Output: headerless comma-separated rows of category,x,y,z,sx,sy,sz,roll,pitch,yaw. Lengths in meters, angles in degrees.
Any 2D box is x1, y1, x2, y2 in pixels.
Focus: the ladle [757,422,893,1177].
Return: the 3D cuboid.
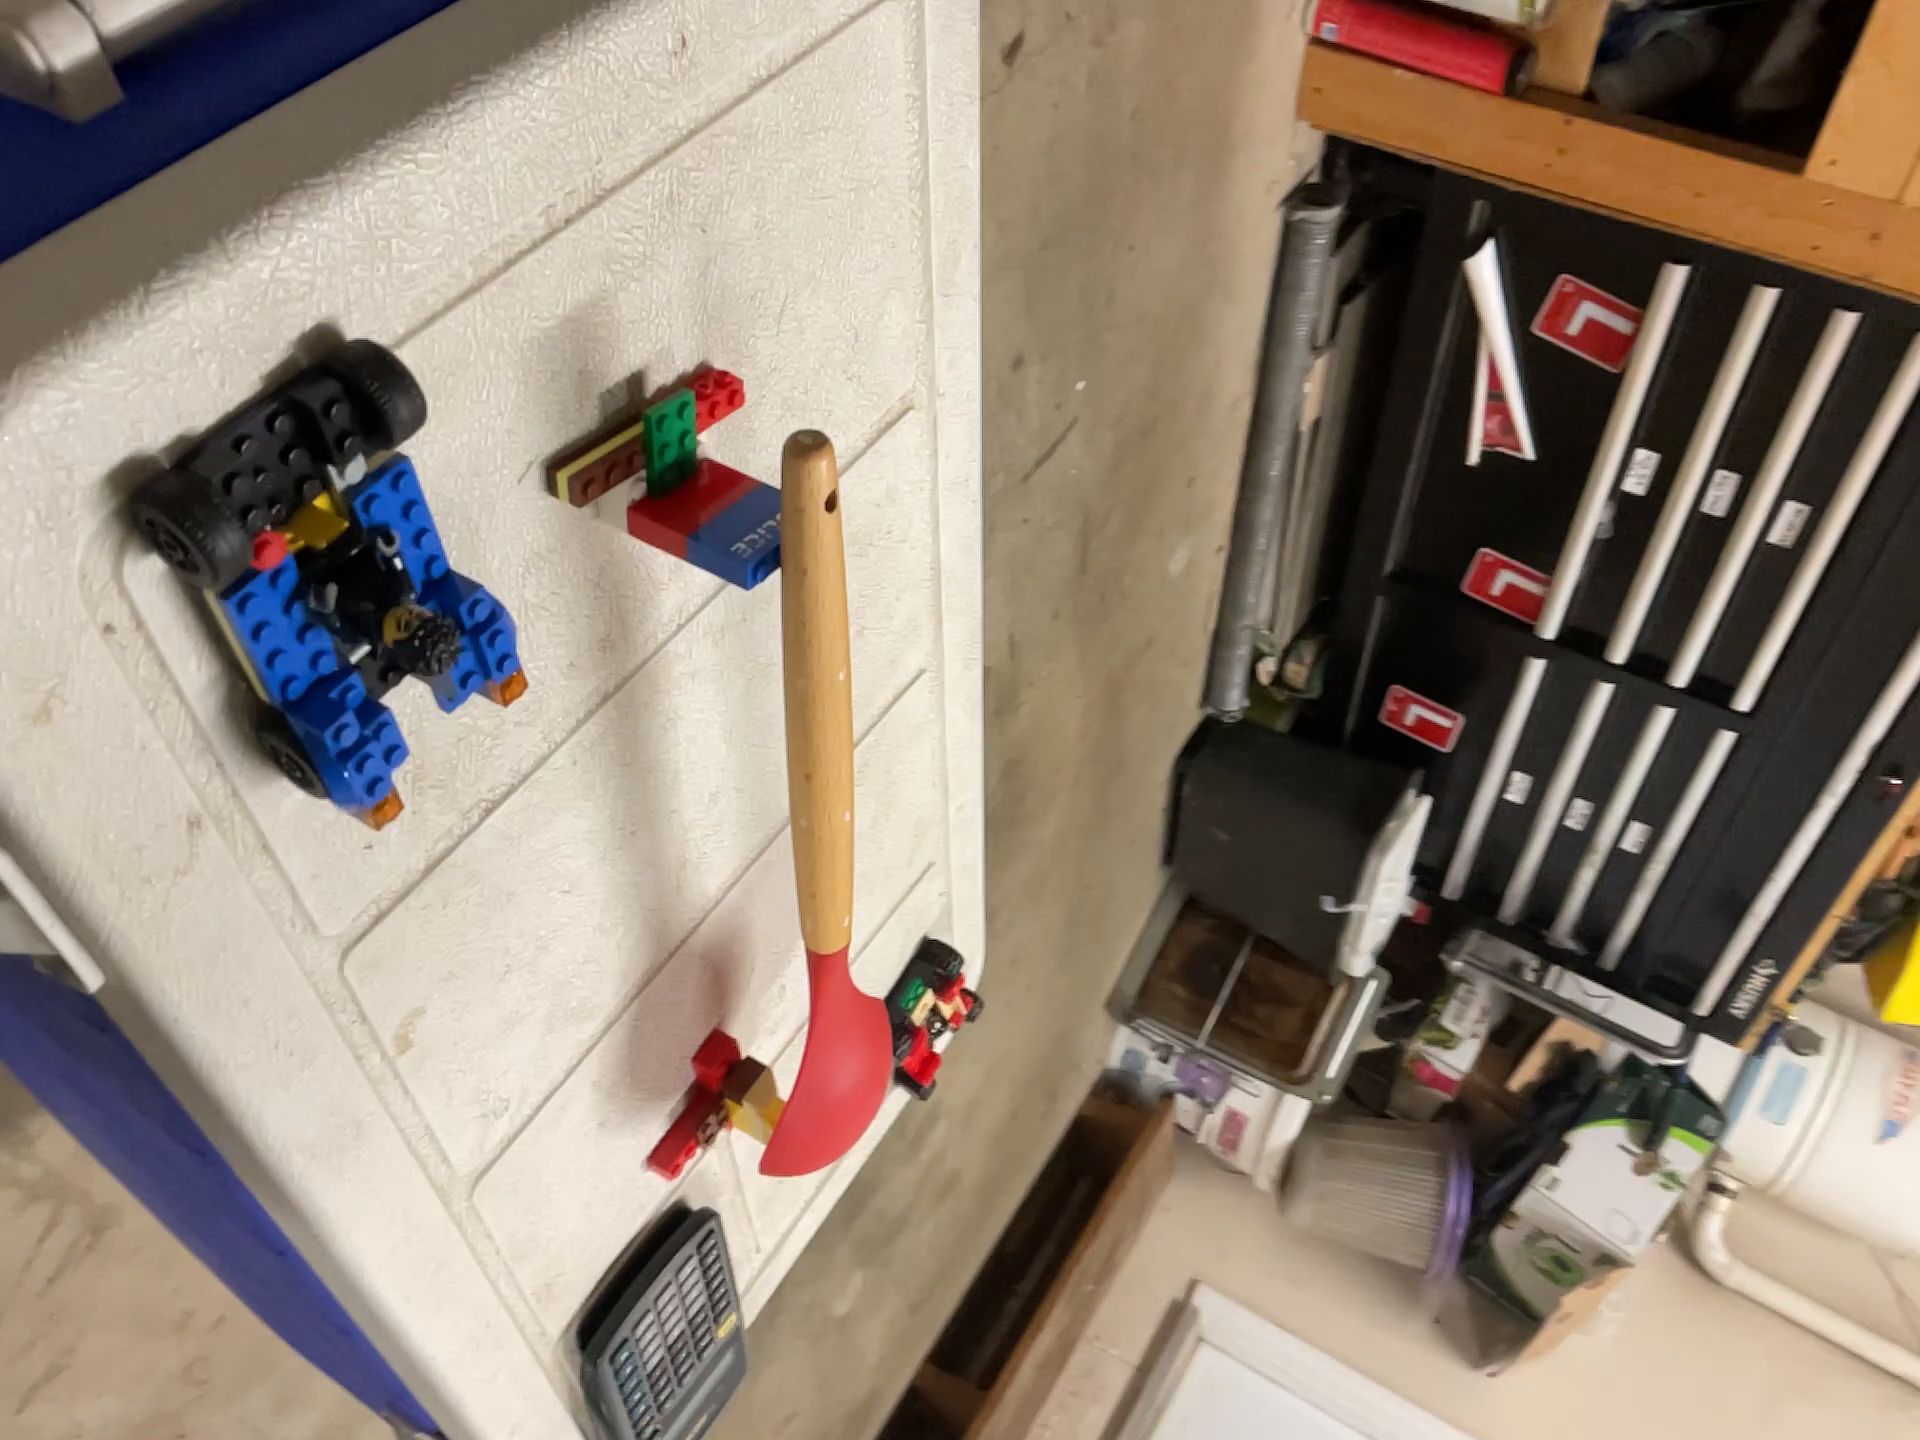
ladle,-0.041,0.047,0.476,0.069,0.031,0.315,-46,152,-38
